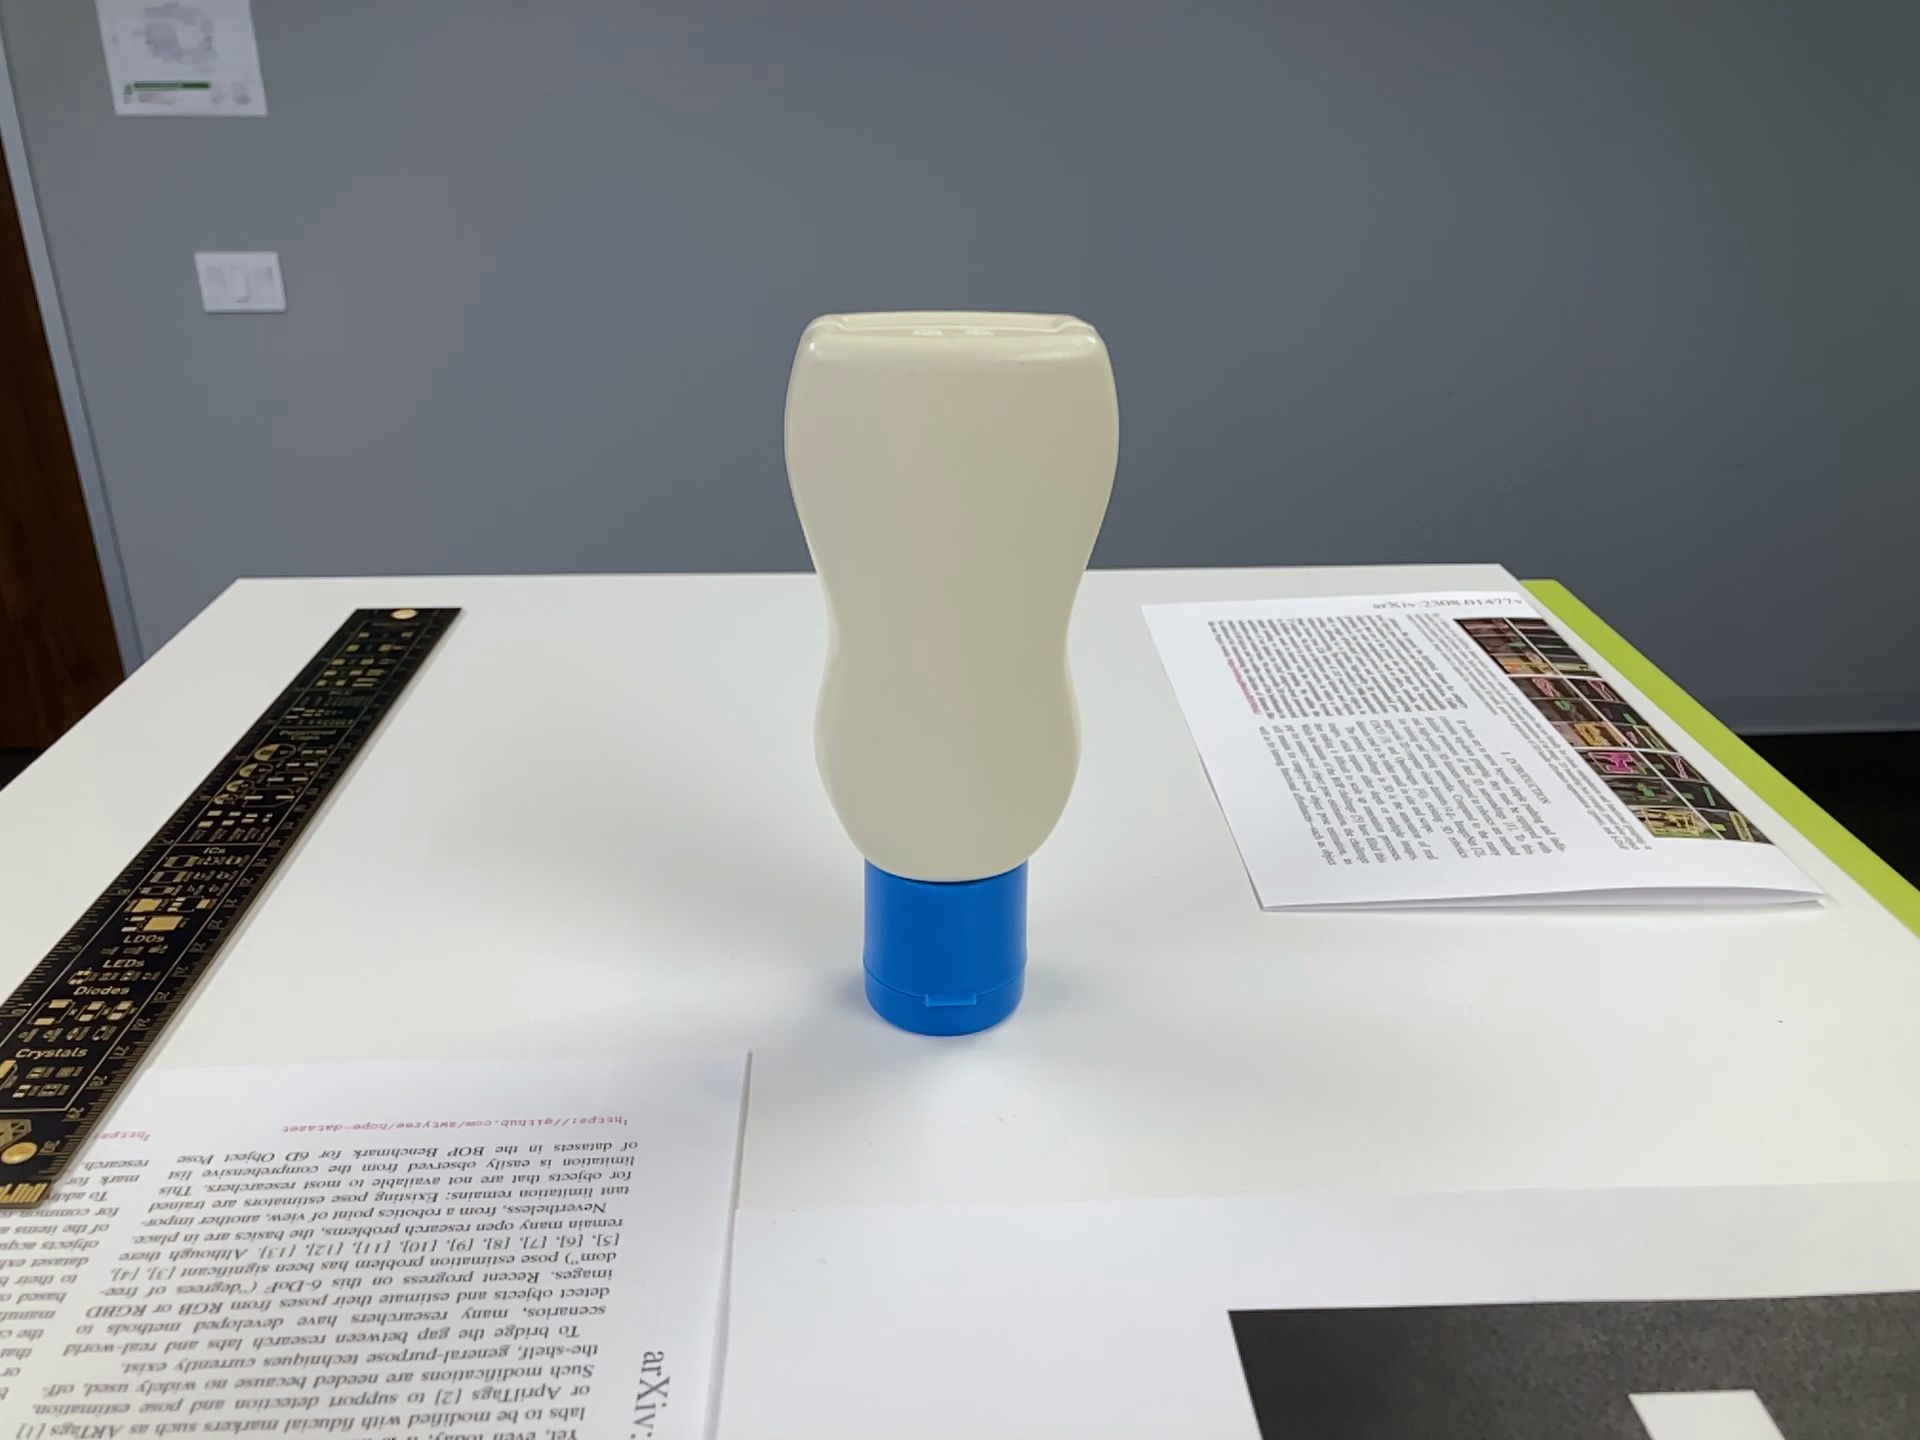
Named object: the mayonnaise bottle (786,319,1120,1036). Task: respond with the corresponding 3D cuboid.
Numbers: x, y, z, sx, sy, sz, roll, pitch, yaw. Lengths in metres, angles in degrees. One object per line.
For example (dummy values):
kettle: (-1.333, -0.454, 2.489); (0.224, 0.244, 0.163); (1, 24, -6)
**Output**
mayonnaise bottle: (-0.002, -0.006, 0.330); (0.065, 0.148, 0.041); (-1, 23, -4)
